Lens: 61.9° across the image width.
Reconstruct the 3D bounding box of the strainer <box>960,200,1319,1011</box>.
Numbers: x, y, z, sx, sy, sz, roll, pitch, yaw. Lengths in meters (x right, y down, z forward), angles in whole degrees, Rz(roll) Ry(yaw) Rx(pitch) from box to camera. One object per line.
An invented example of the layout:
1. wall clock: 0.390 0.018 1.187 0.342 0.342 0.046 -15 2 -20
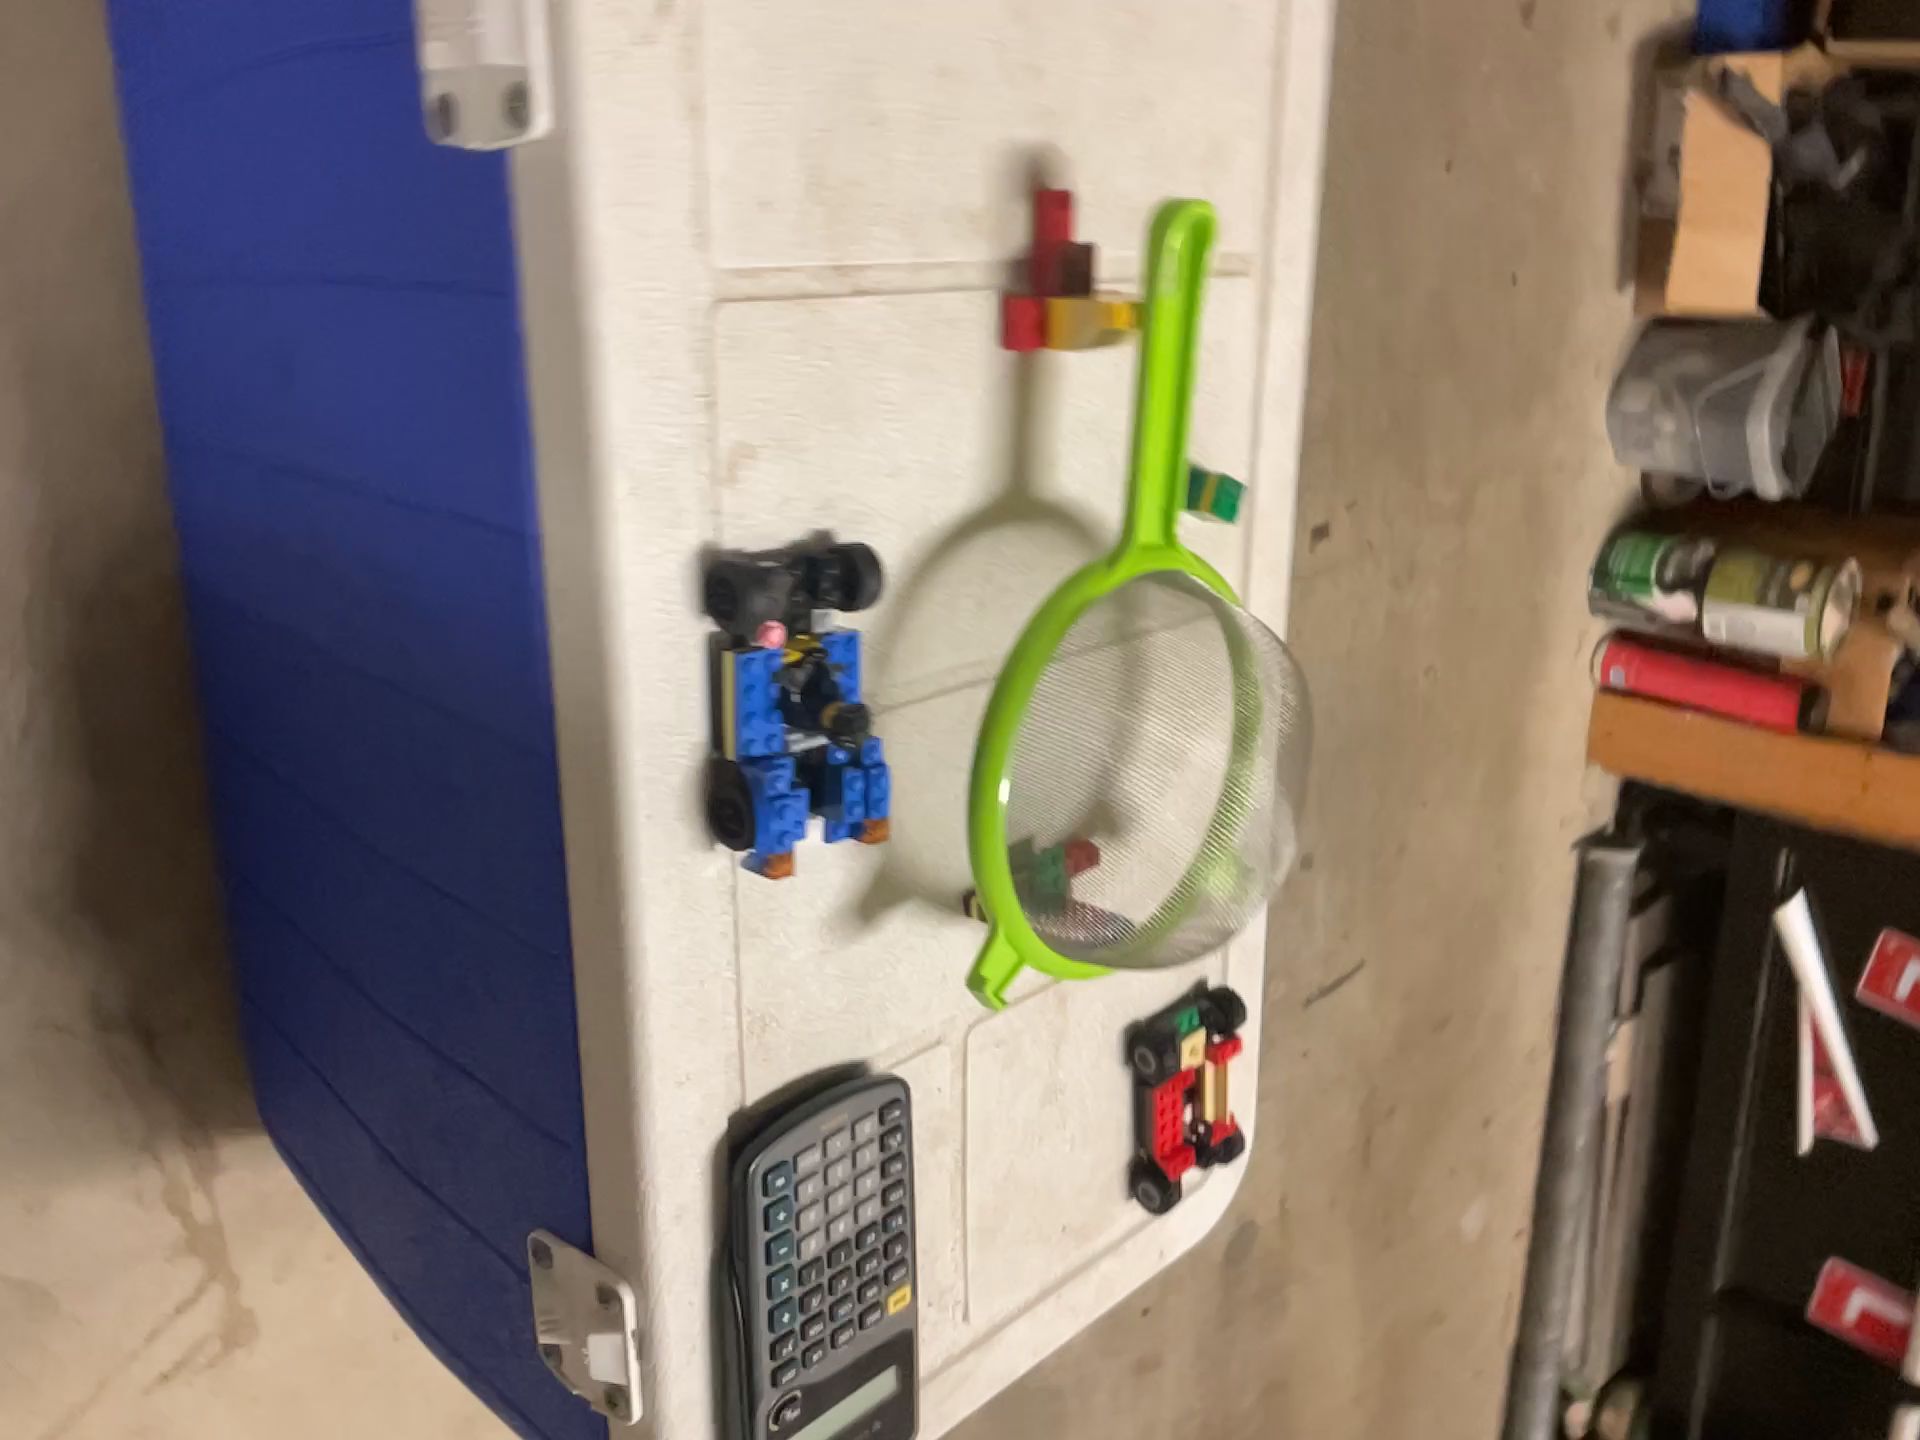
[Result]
1. strainer: 0.078 -0.030 0.508 0.151 0.069 0.256 -13 113 -43
